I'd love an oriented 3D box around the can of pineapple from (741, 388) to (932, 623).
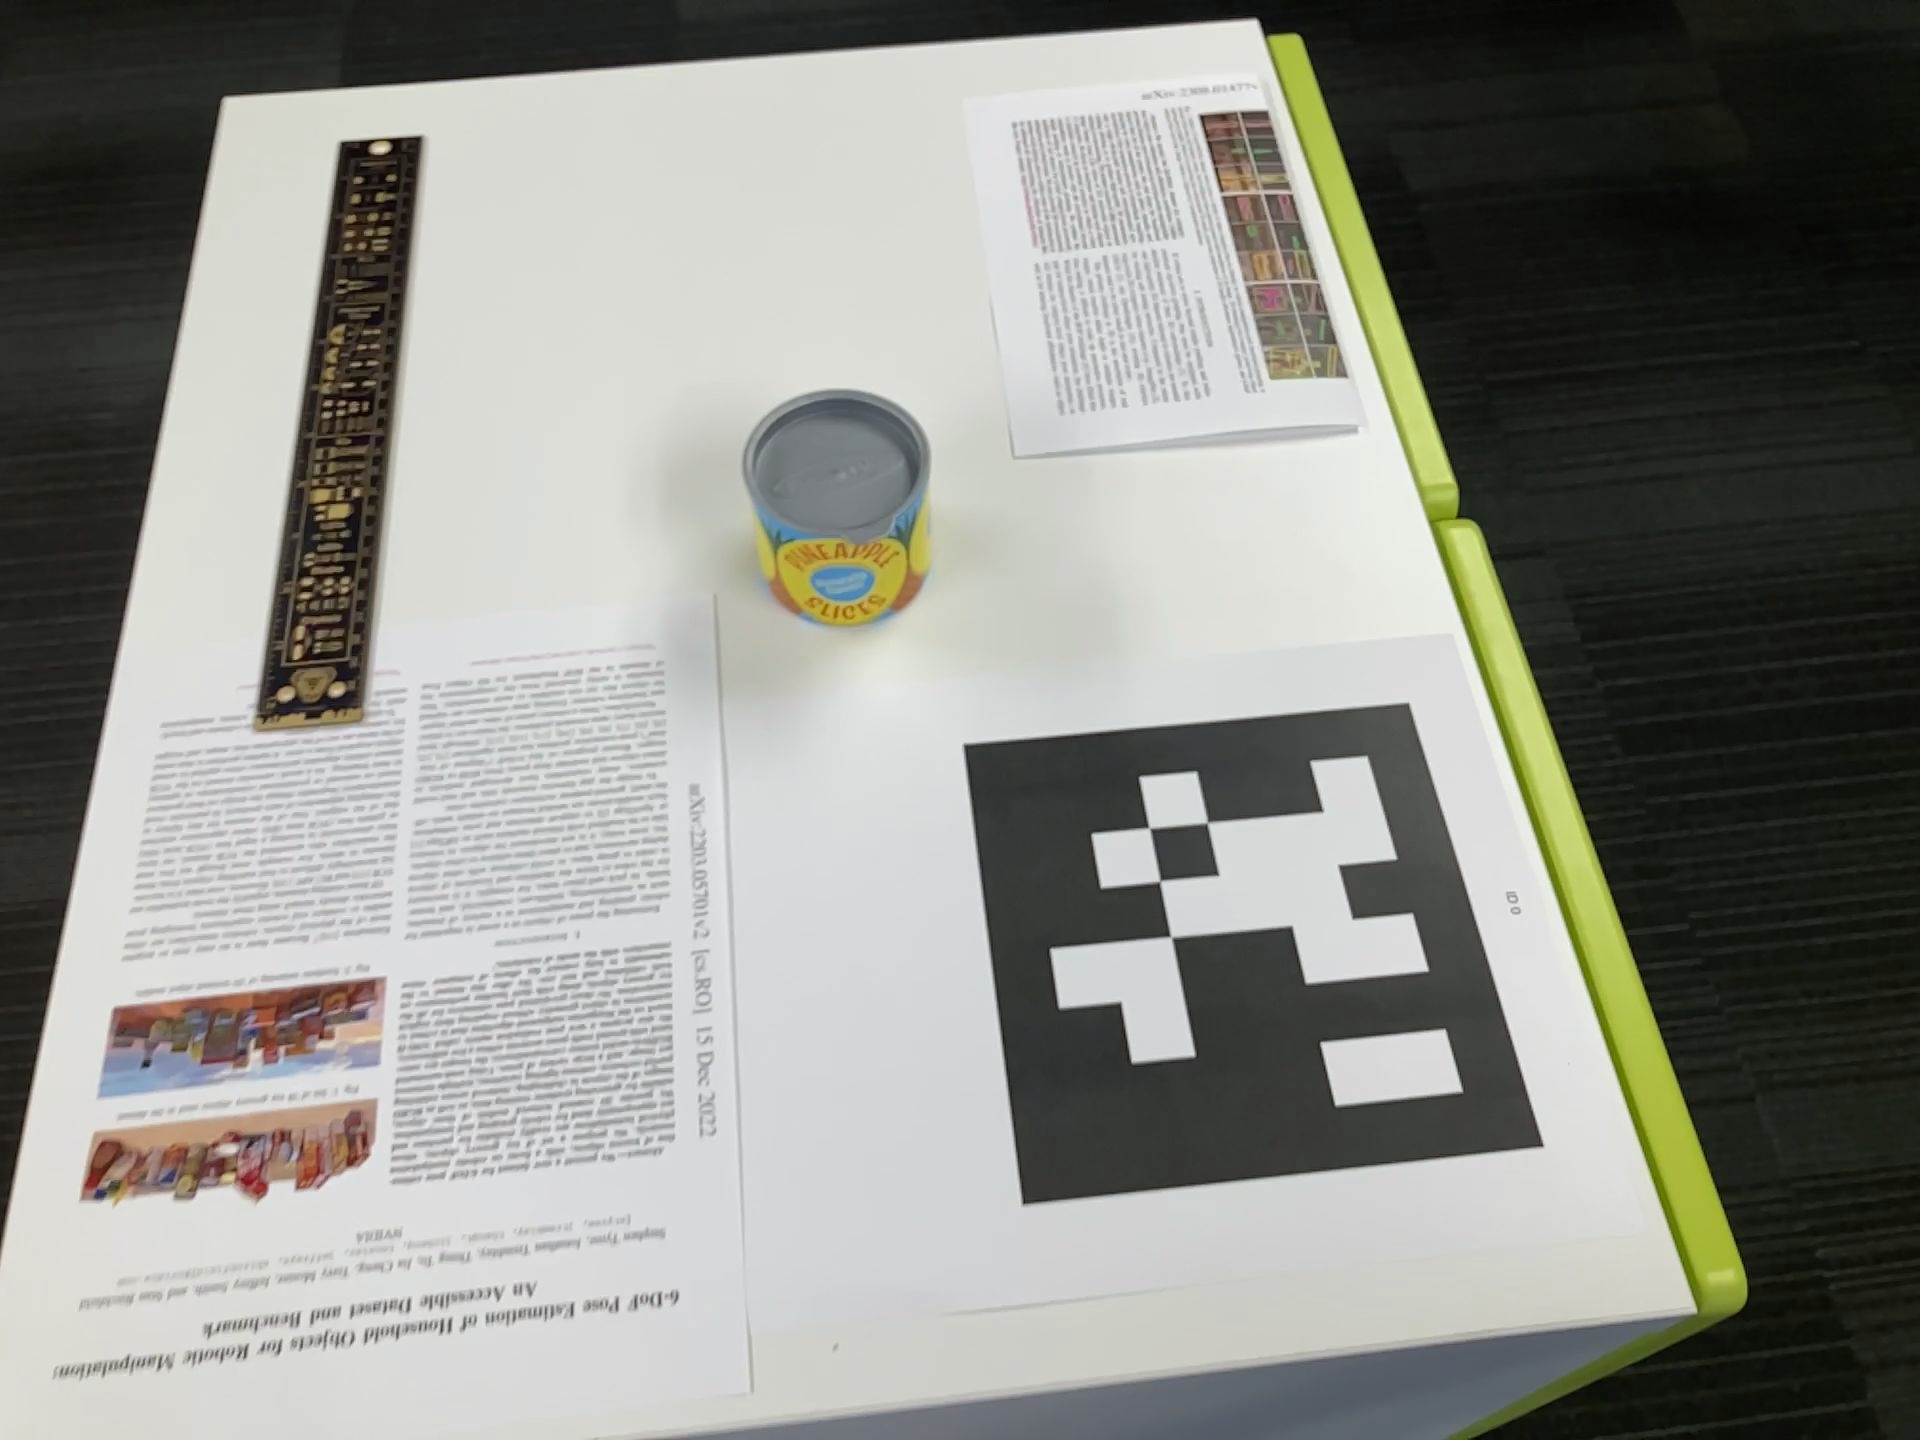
[{"bbox_3d":[-0.044,-0.076,0.581,0.071,0.058,0.071,0,59,1],"label":"can of pineapple"}]
